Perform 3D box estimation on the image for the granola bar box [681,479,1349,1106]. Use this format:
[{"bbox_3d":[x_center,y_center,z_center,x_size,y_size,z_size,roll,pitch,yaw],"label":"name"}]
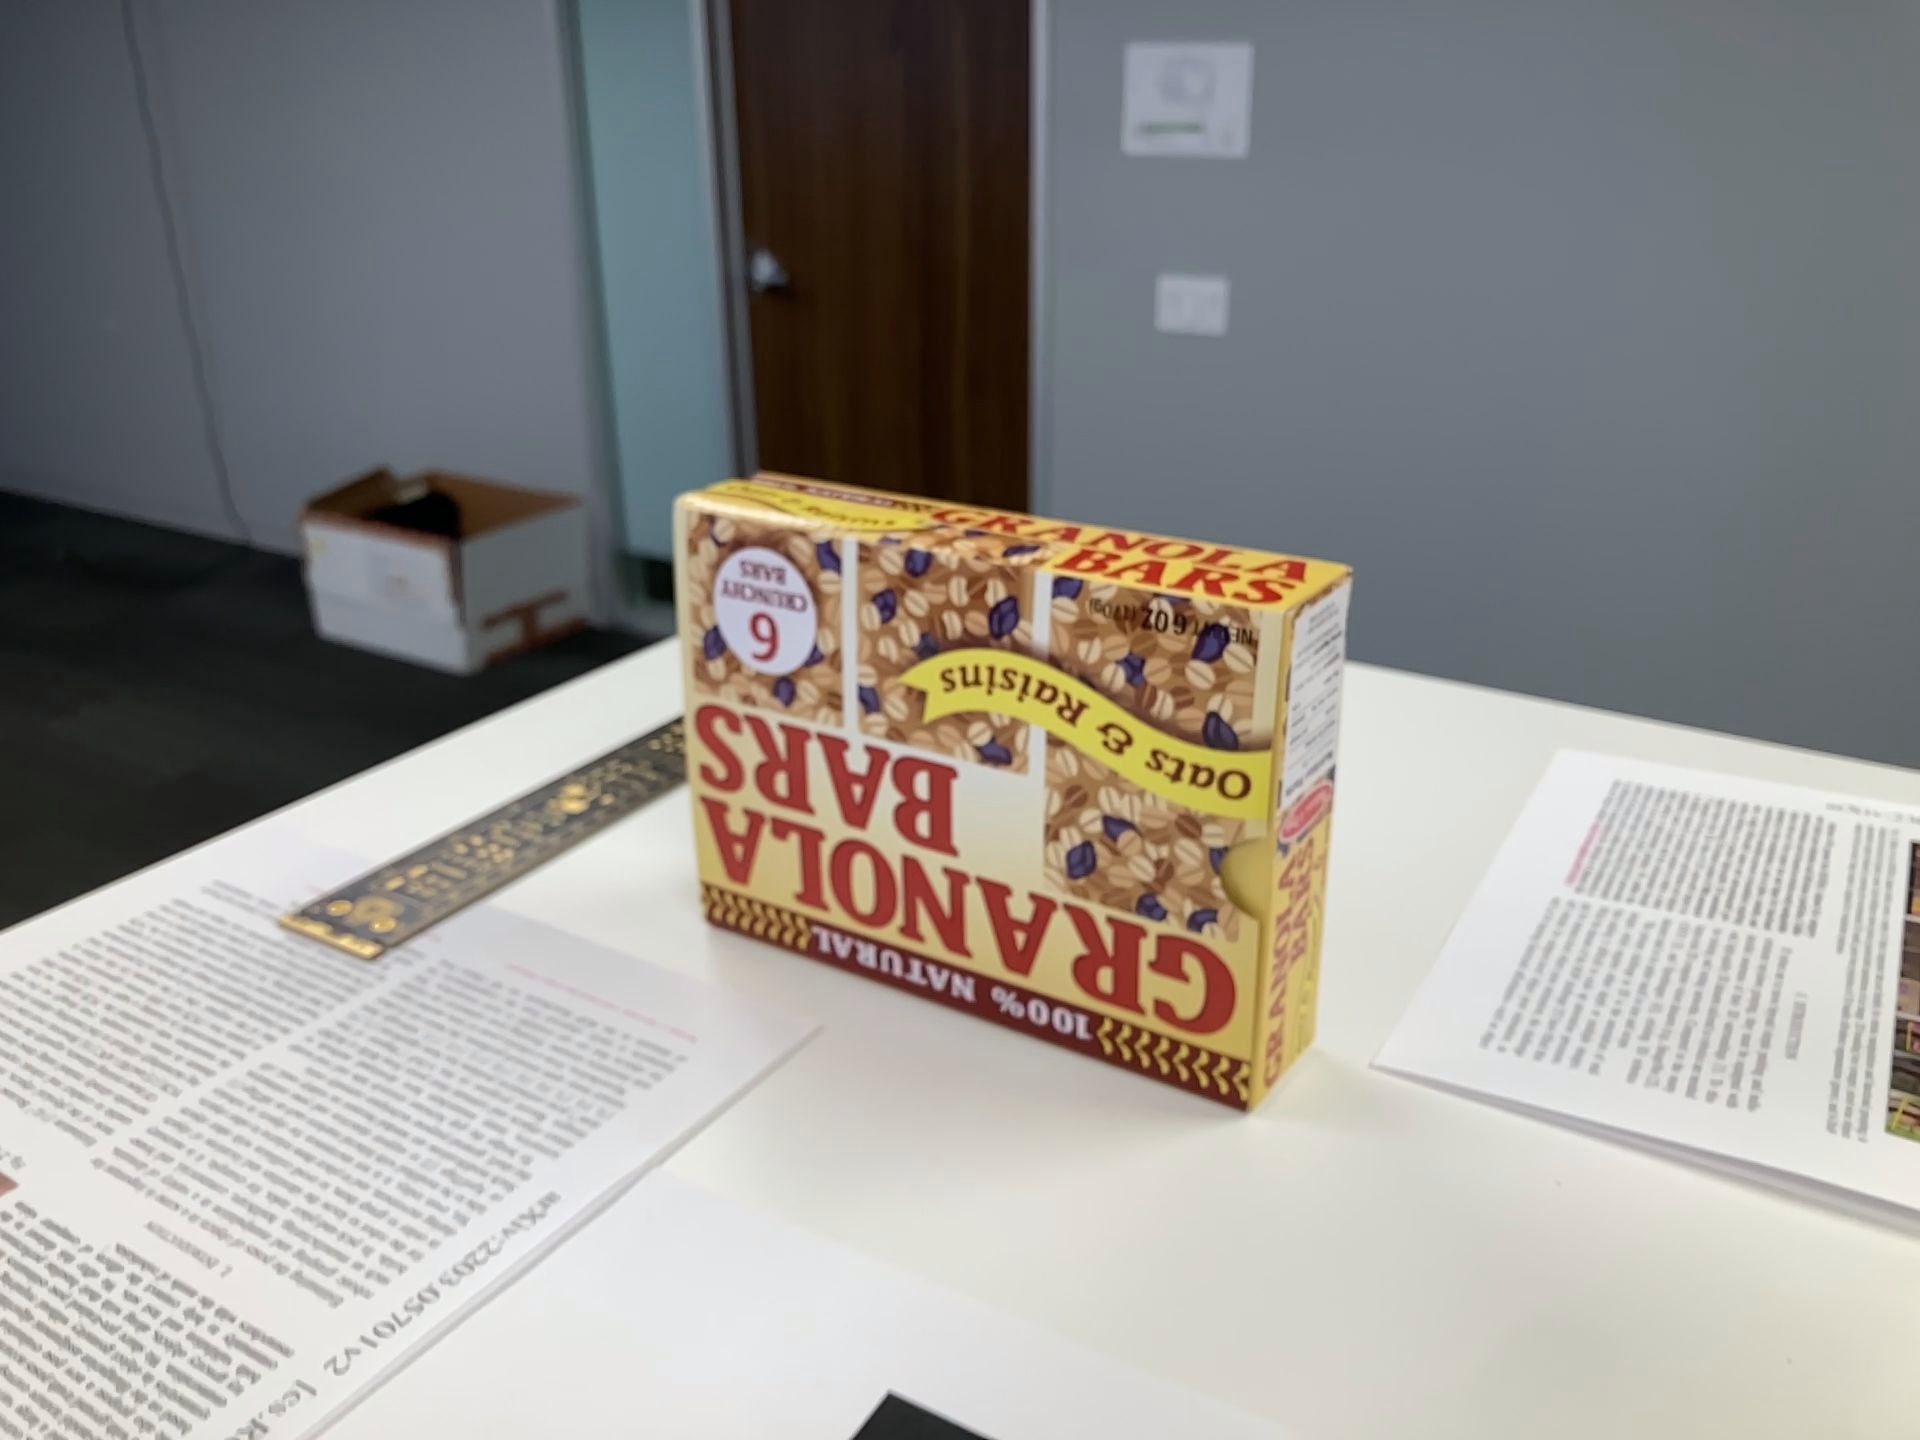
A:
[{"bbox_3d":[0.007,0.013,0.402,0.165,0.124,0.039,13,26,30],"label":"granola bar box"}]
